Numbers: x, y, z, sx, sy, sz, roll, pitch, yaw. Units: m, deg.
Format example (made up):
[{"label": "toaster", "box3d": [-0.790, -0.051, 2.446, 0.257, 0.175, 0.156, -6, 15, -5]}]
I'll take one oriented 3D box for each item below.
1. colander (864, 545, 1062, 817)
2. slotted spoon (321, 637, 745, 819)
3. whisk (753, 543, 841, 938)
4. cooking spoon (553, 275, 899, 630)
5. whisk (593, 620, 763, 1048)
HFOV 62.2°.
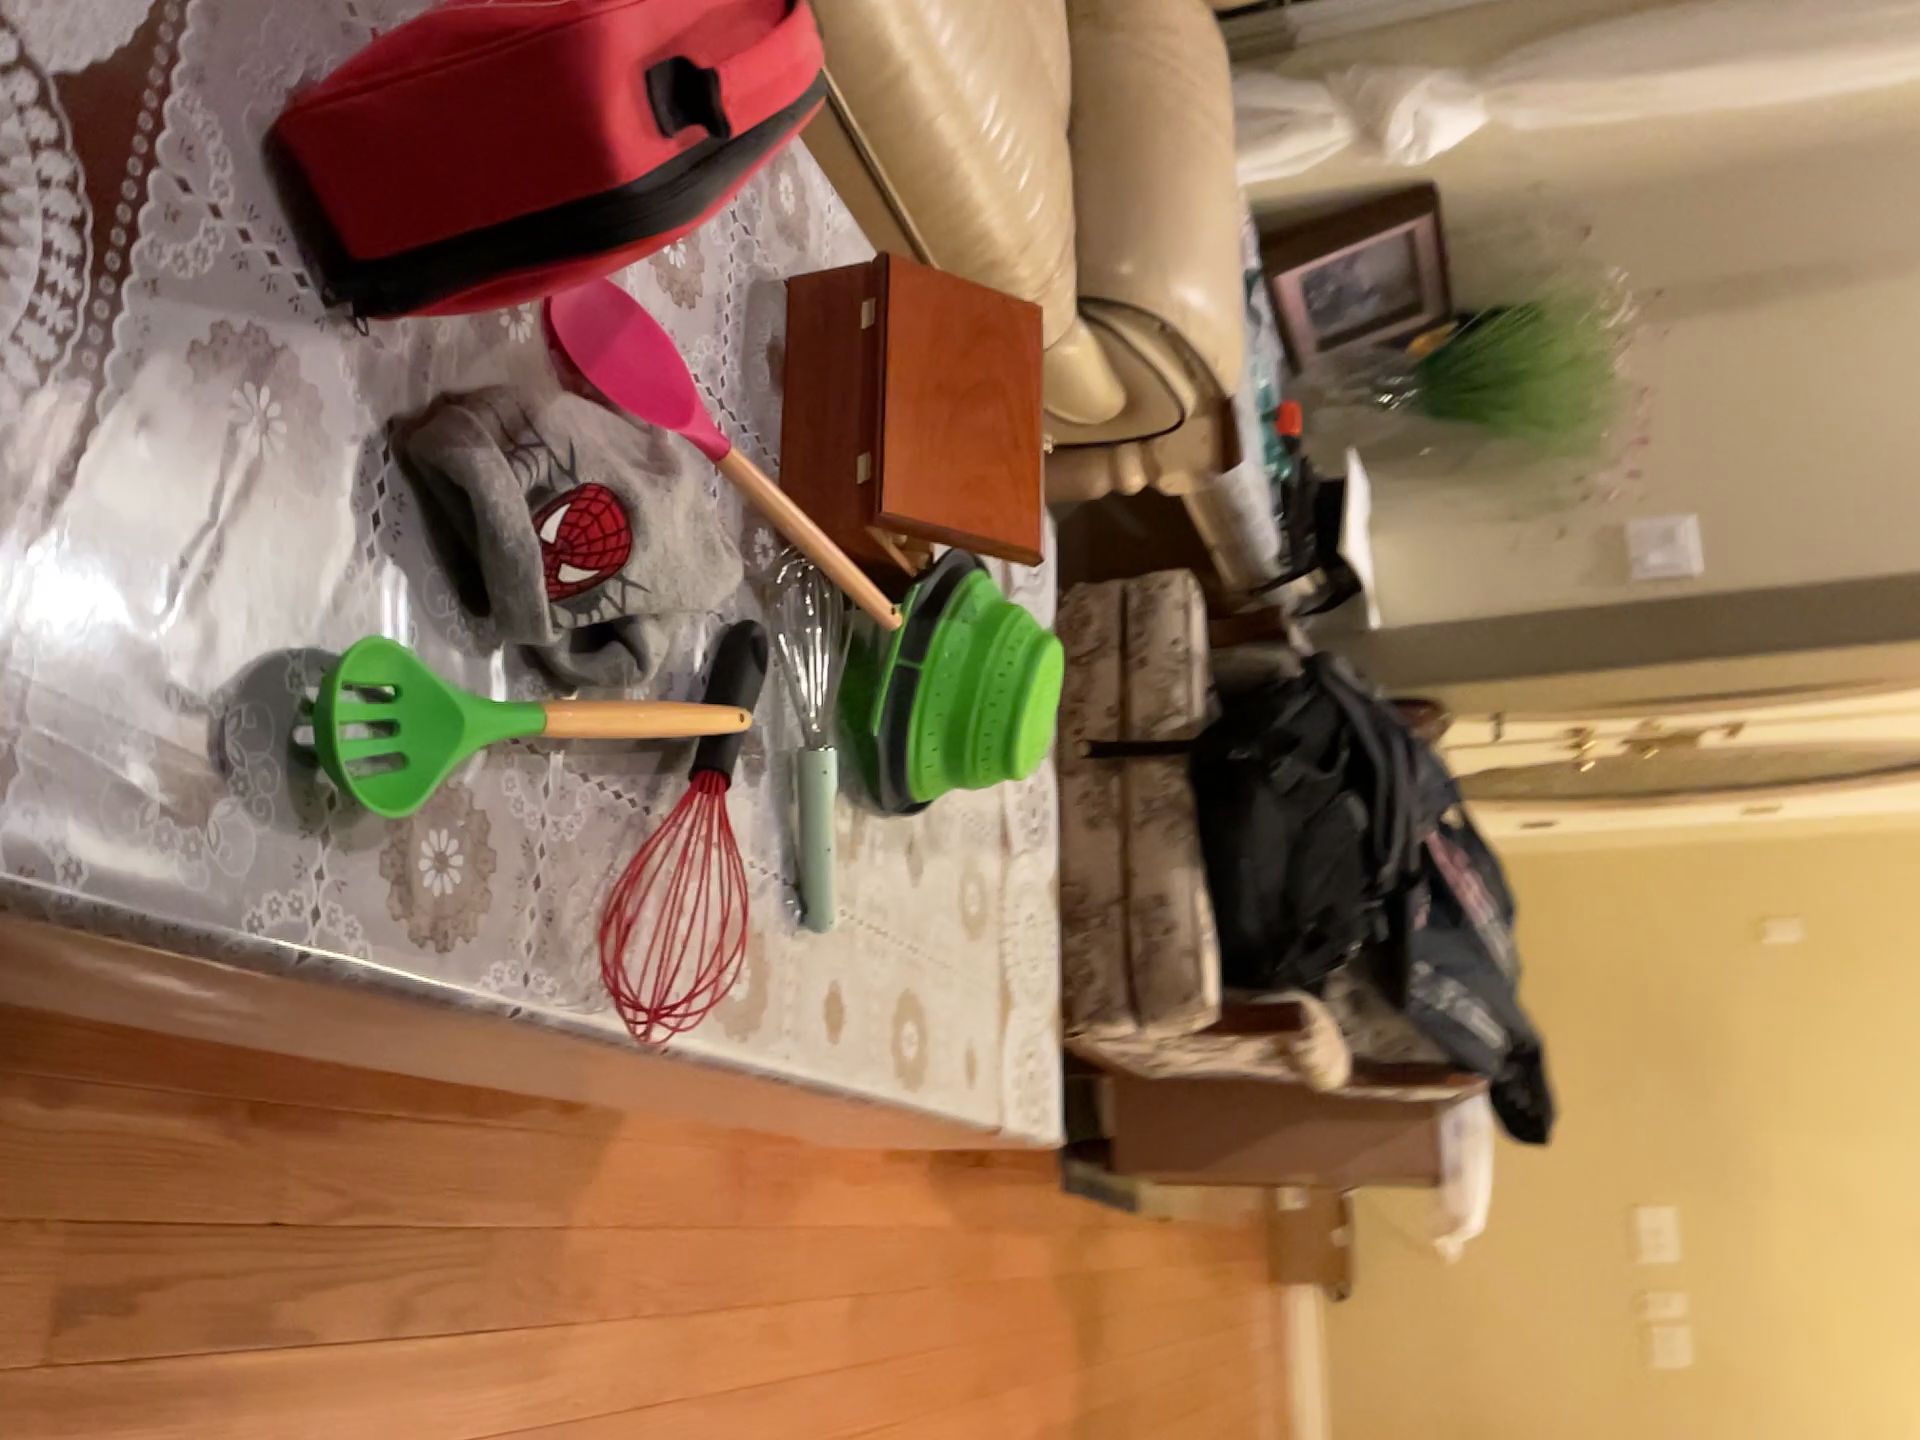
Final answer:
[{"label": "colander", "box3d": [0.032, -0.008, 1.218, 0.397, 0.094, 0.204, 32, 73, -76]}, {"label": "slotted spoon", "box3d": [-0.178, 0.002, 0.718, 0.313, 0.031, 0.070, -2, 86, -69]}, {"label": "whisk", "box3d": [-0.096, 0.013, 0.989, 0.057, 0.059, 0.246, -4, 90, -30]}, {"label": "cooking spoon", "box3d": [-0.121, -0.137, 0.897, 0.318, 0.017, 0.069, 44, 44, -47]}, {"label": "whisk", "box3d": [-0.134, 0.045, 0.833, 0.296, 0.073, 0.073, -85, 154, -48]}]
